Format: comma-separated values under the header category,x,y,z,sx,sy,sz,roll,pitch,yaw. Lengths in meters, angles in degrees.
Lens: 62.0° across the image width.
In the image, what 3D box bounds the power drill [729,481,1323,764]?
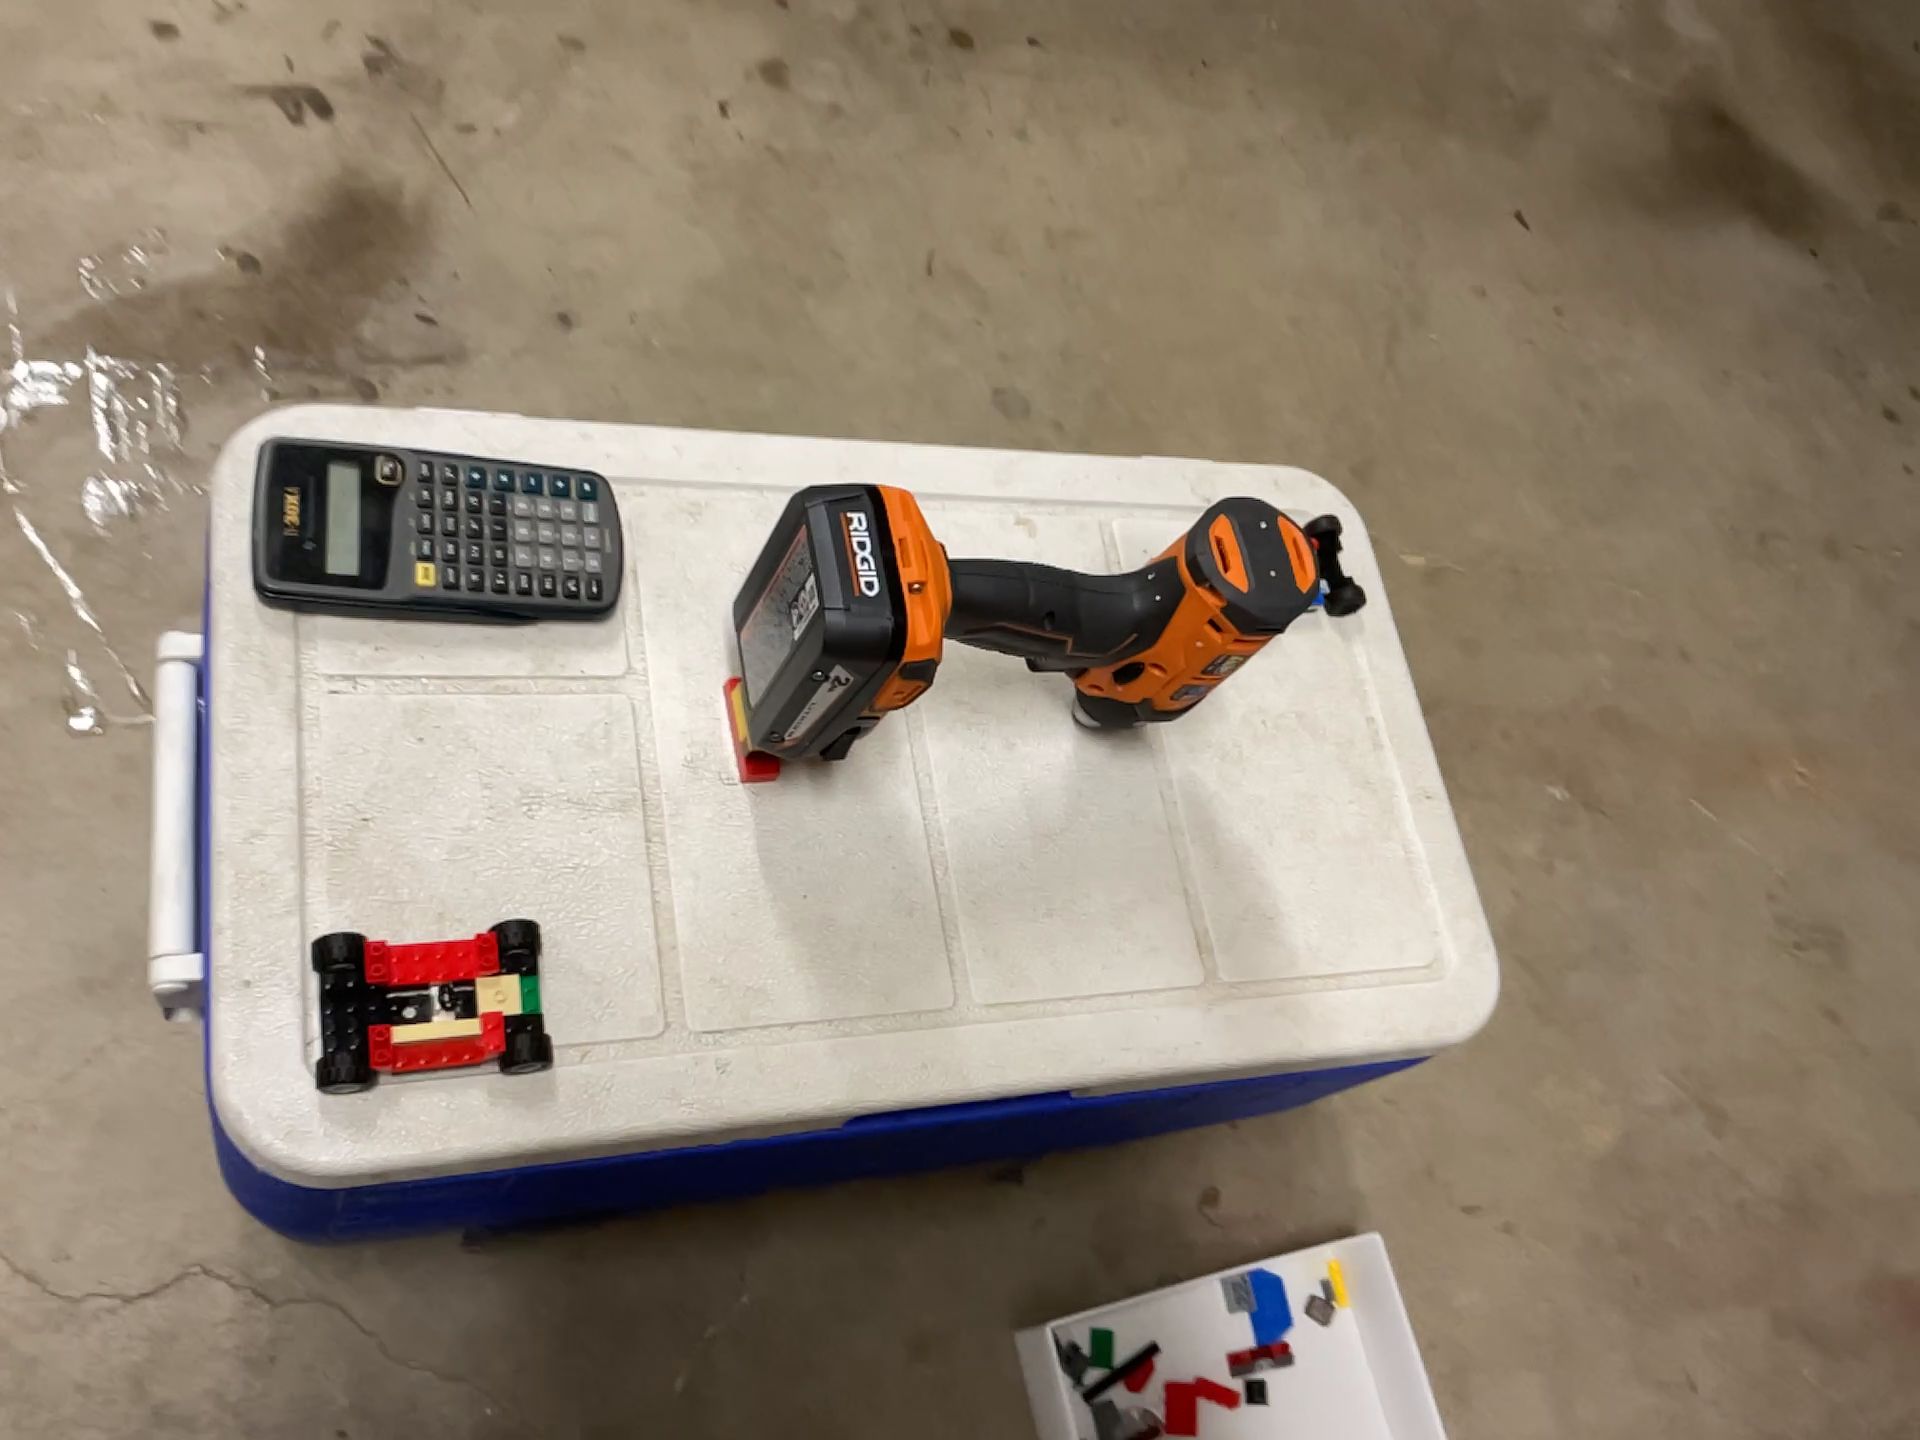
category,x,y,z,sx,sy,sz,roll,pitch,yaw
power drill,0.022,-0.034,0.692,0.226,0.164,0.084,-2,66,-25
